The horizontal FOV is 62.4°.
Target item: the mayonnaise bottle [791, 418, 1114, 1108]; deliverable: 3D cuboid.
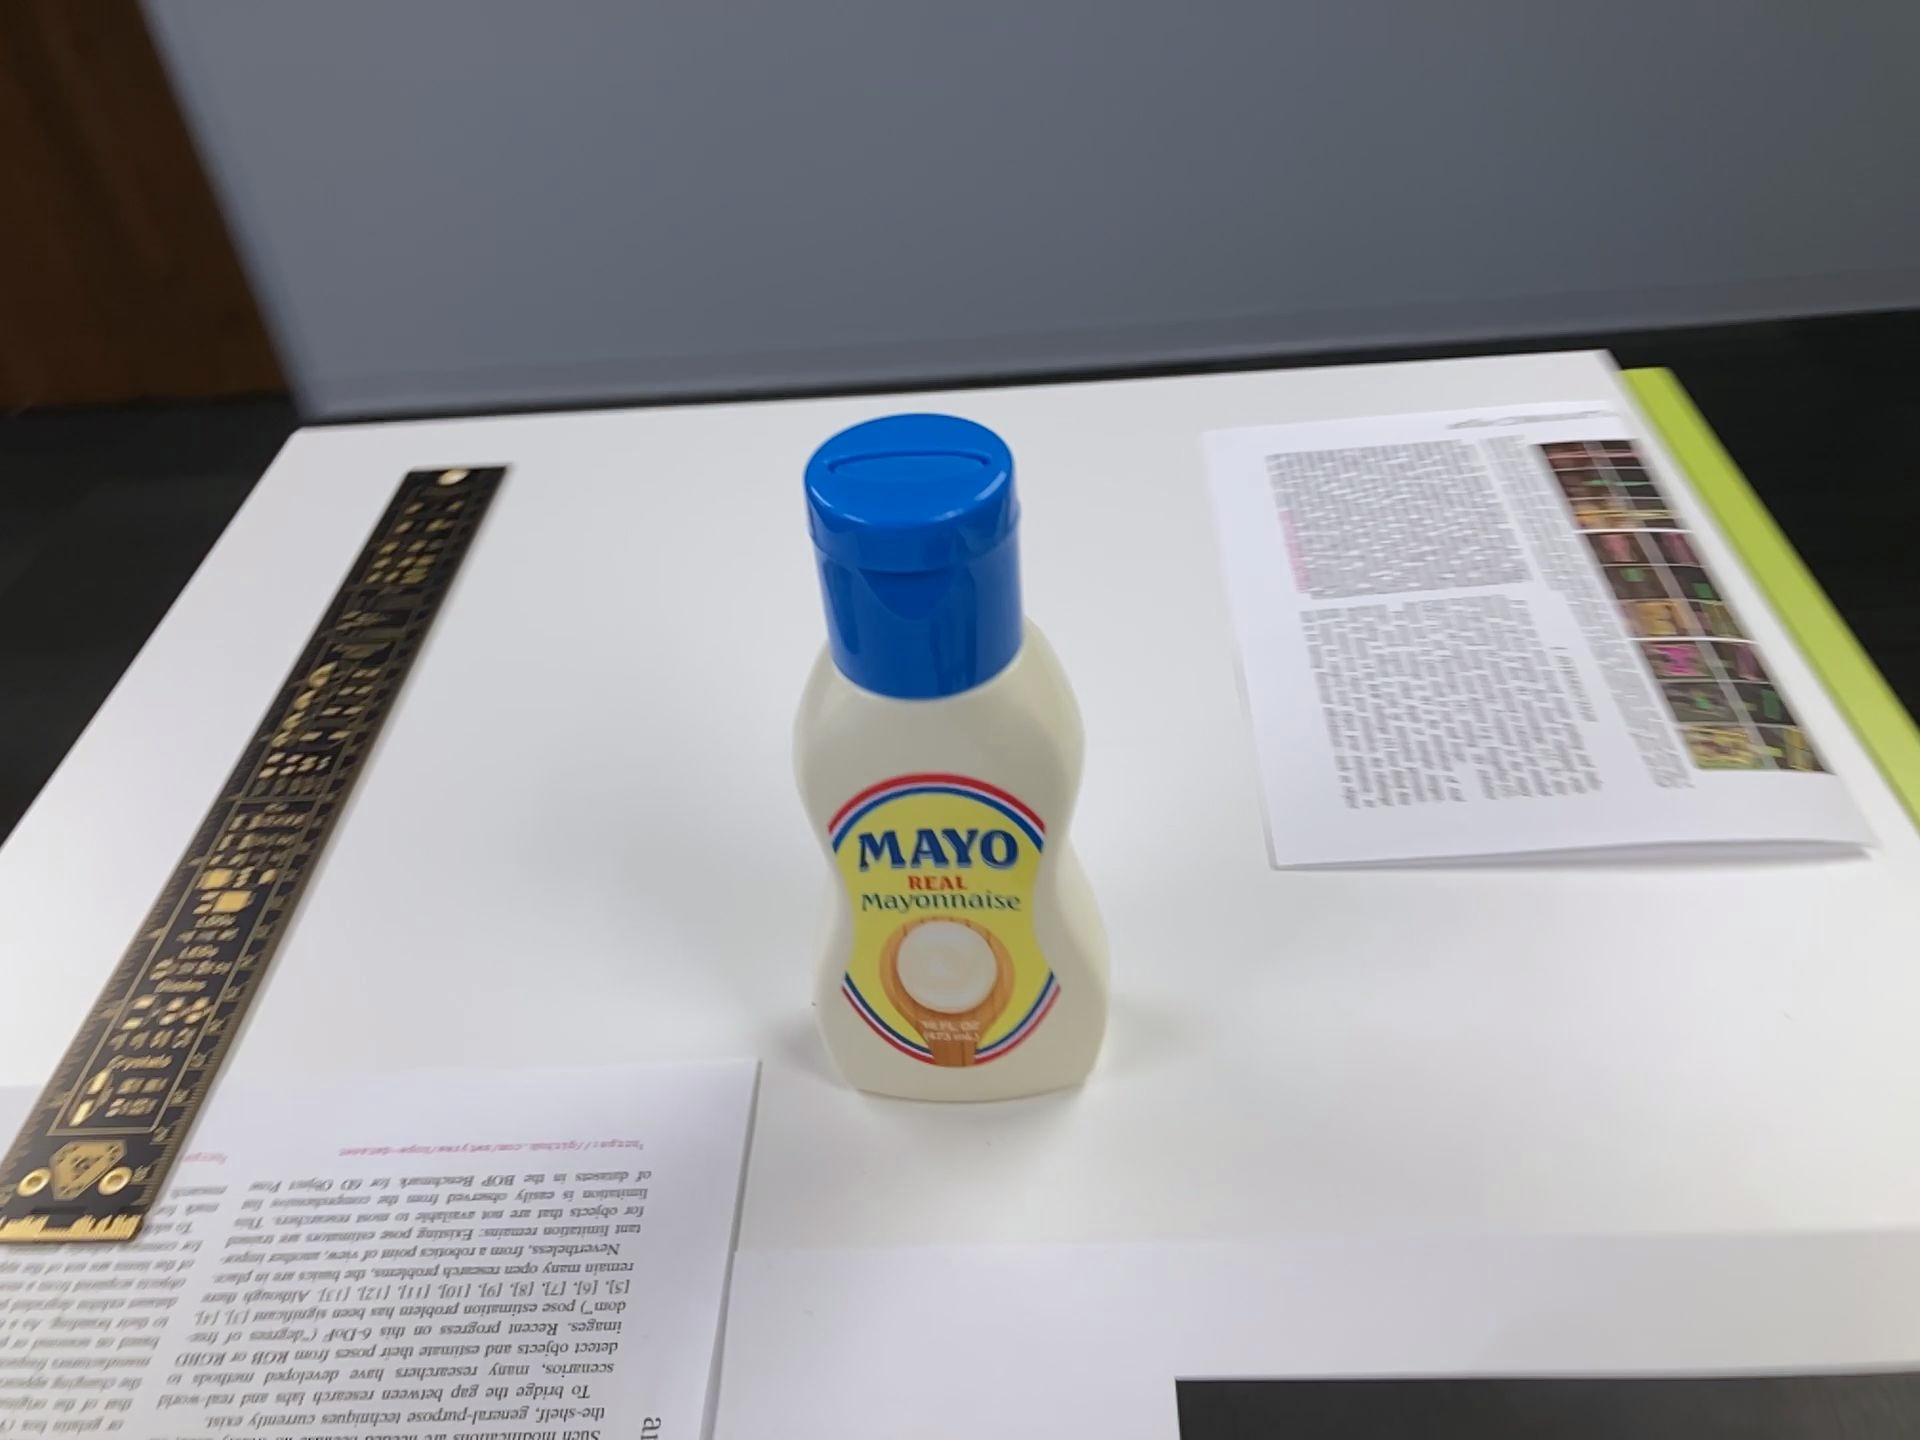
[{"bbox_3d":[-0.003,0.015,0.309,0.065,0.148,0.041,-2,39,4],"label":"mayonnaise bottle"}]
